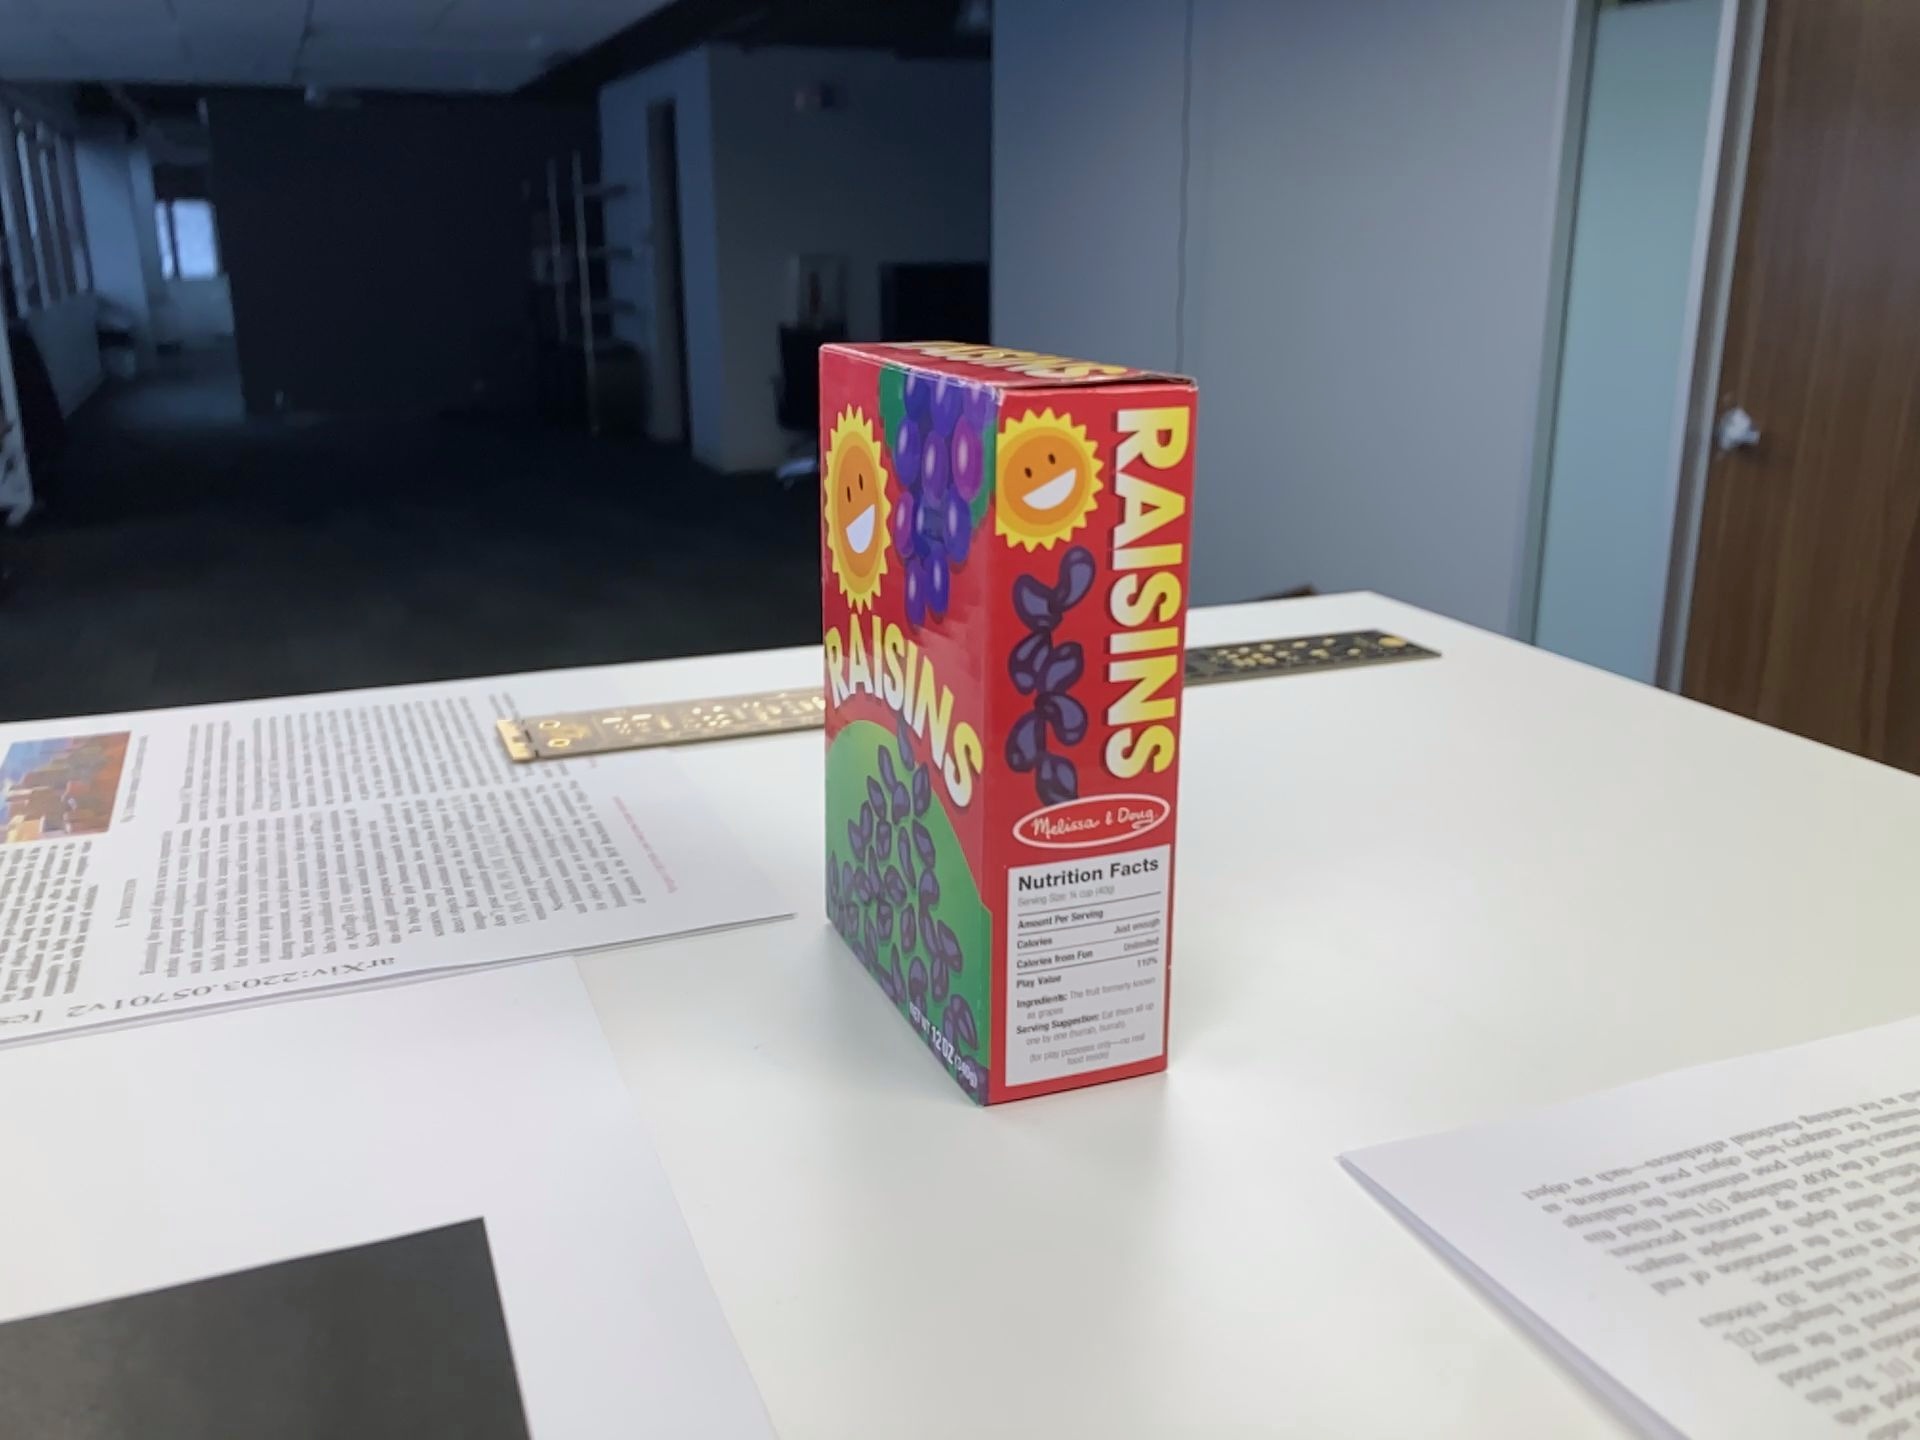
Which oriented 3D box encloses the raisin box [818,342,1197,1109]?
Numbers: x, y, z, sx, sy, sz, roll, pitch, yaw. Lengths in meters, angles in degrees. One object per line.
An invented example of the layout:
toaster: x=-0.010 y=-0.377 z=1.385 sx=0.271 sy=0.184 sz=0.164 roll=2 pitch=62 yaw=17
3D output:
raisin box: x=0.005 y=-0.005 z=0.294 sx=0.040 sy=0.123 sz=0.086 roll=-6 pitch=18 yaw=-21
